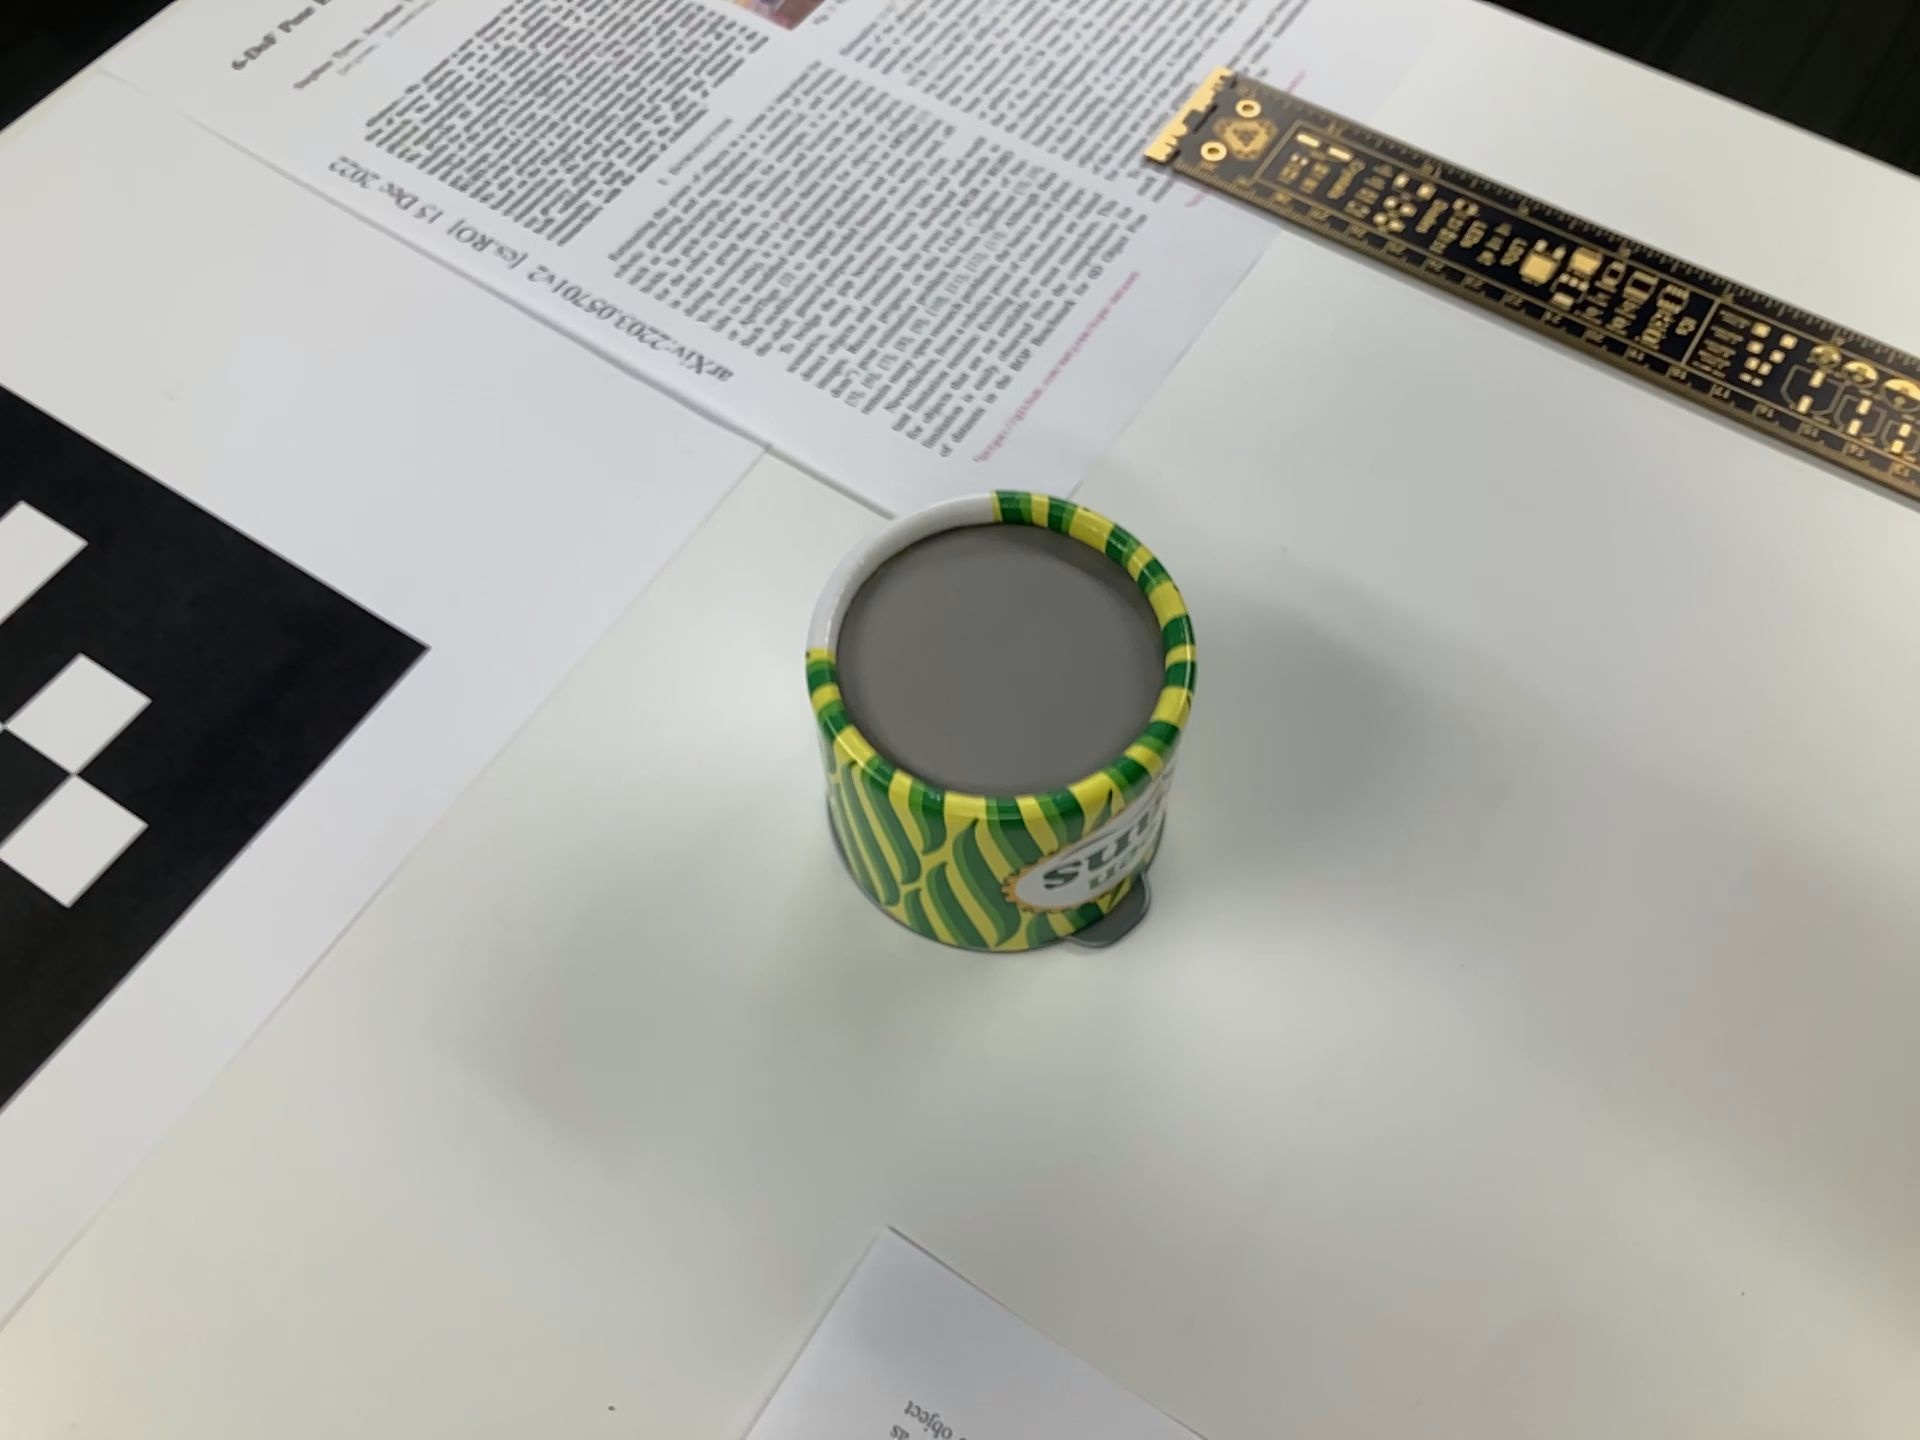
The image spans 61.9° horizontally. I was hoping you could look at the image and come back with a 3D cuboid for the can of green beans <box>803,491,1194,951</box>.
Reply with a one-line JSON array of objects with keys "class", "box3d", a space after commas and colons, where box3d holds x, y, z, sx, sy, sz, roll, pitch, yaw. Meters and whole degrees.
[{"class": "can of green beans", "box3d": [0.007, 0.001, 0.292, 0.071, 0.058, 0.071, 0, 61, 0]}]
